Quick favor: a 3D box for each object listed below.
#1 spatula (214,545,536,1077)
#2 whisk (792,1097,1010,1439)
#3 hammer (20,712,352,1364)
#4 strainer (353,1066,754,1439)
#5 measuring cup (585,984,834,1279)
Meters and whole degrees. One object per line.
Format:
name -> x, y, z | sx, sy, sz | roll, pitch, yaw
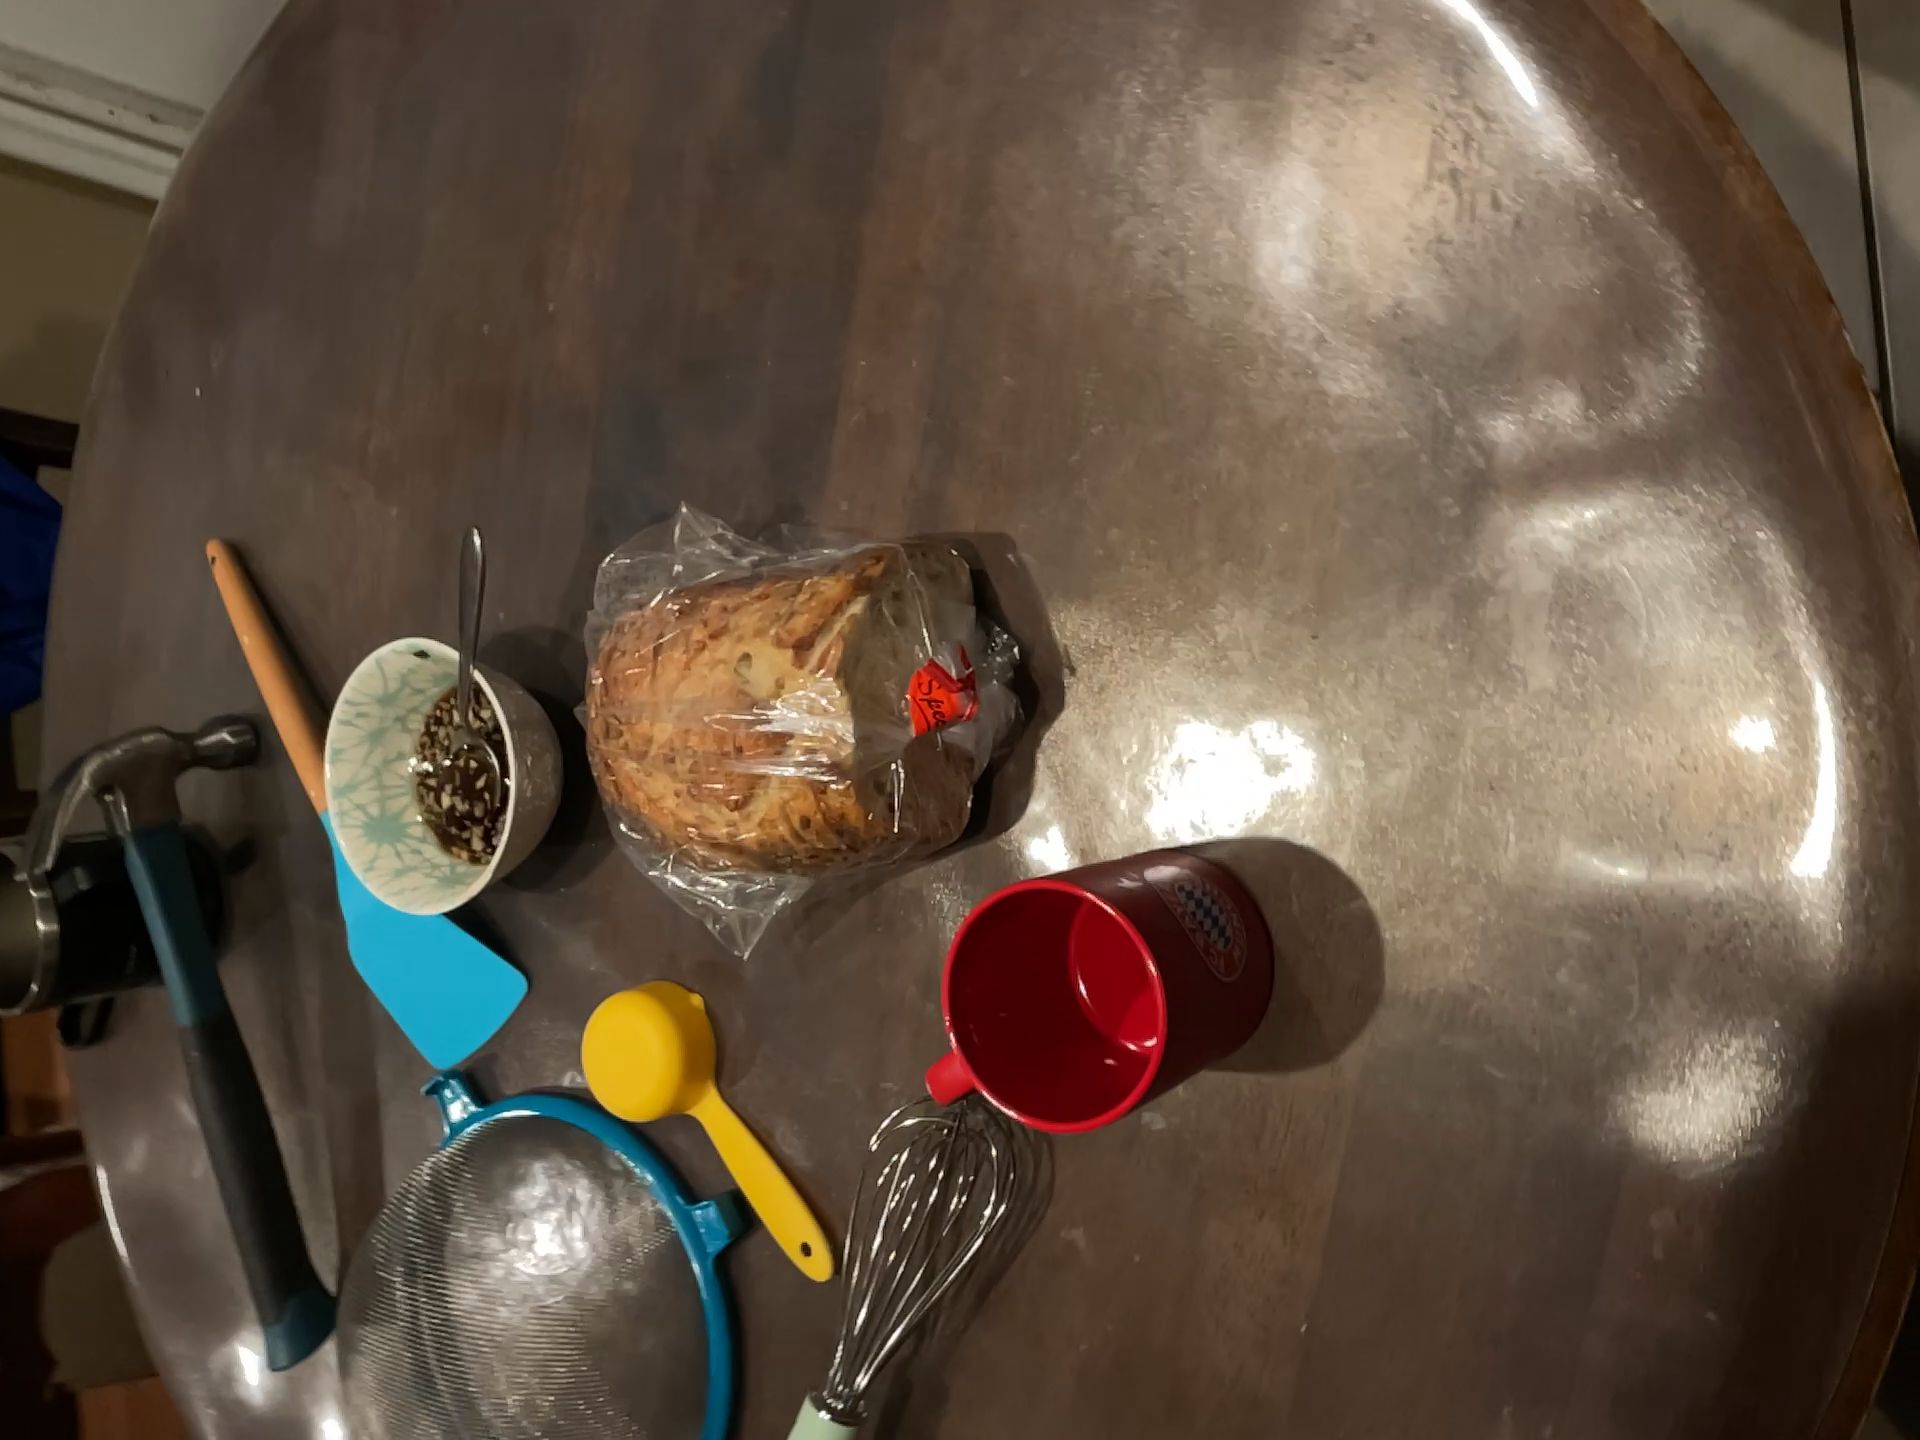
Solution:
spatula -> -0.316, 0.032, 0.821 | 0.082, 0.044, 0.318 | -44, 65, 25
whisk -> -0.044, 0.260, 0.624 | 0.059, 0.058, 0.246 | 22, 94, -2
hammer -> -0.380, 0.165, 0.824 | 0.033, 0.128, 0.331 | -16, 91, 33
strainer -> -0.219, 0.343, 0.723 | 0.211, 0.095, 0.340 | 14, 94, 31
measuring cup -> -0.109, 0.180, 0.689 | 0.156, 0.029, 0.062 | 46, 113, 24
